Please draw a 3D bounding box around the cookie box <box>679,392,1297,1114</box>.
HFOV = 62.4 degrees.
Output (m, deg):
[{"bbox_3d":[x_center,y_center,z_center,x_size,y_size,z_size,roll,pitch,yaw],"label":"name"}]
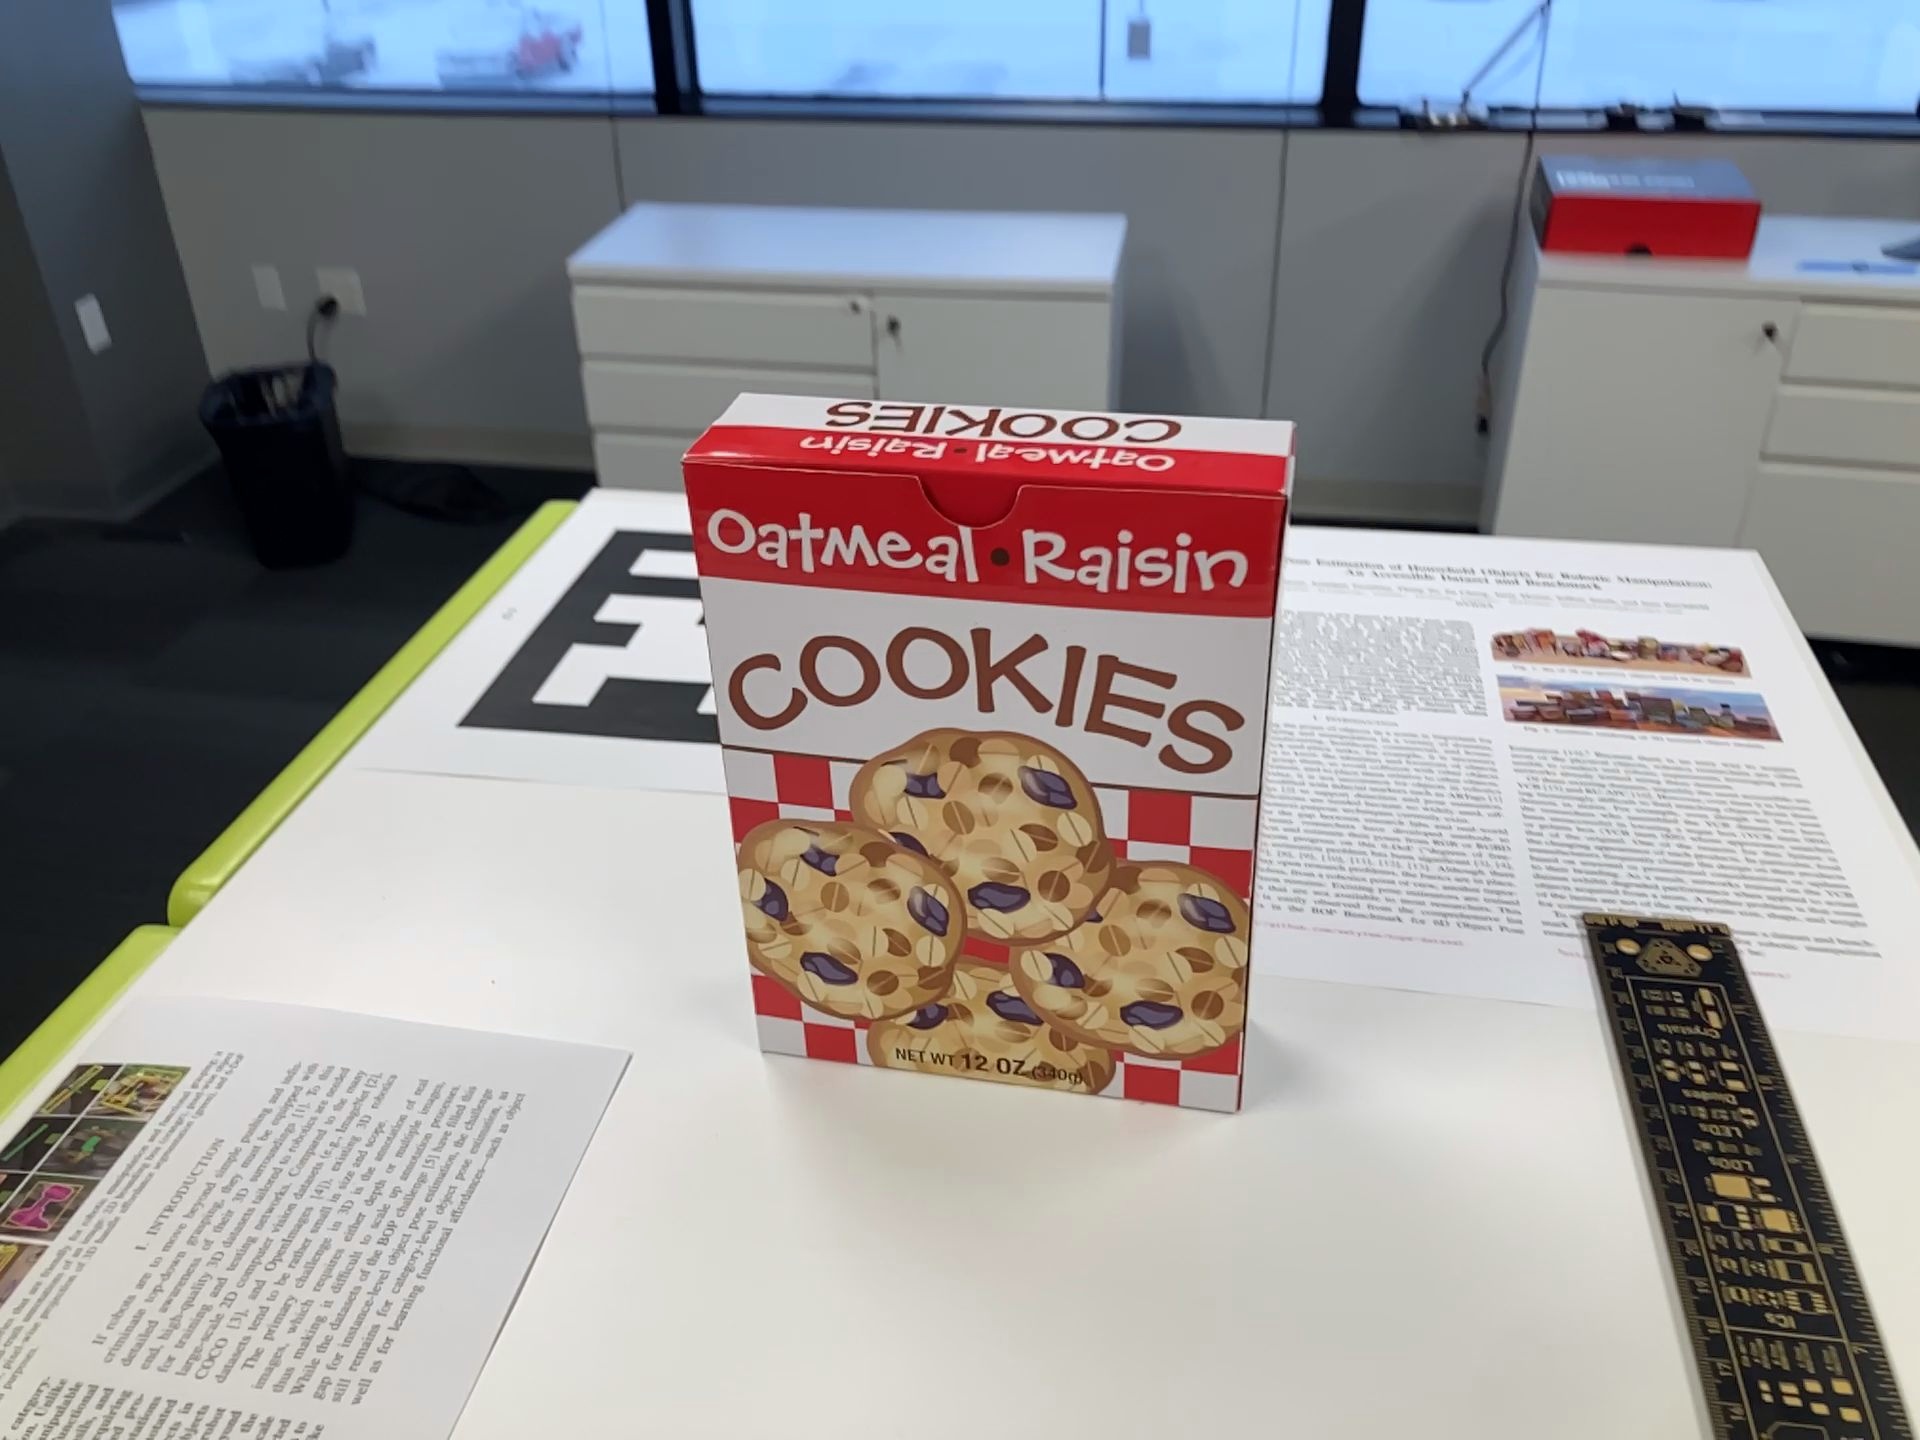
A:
[{"bbox_3d":[0.008,0.012,0.365,0.123,0.167,0.040,5,33,11],"label":"cookie box"}]
